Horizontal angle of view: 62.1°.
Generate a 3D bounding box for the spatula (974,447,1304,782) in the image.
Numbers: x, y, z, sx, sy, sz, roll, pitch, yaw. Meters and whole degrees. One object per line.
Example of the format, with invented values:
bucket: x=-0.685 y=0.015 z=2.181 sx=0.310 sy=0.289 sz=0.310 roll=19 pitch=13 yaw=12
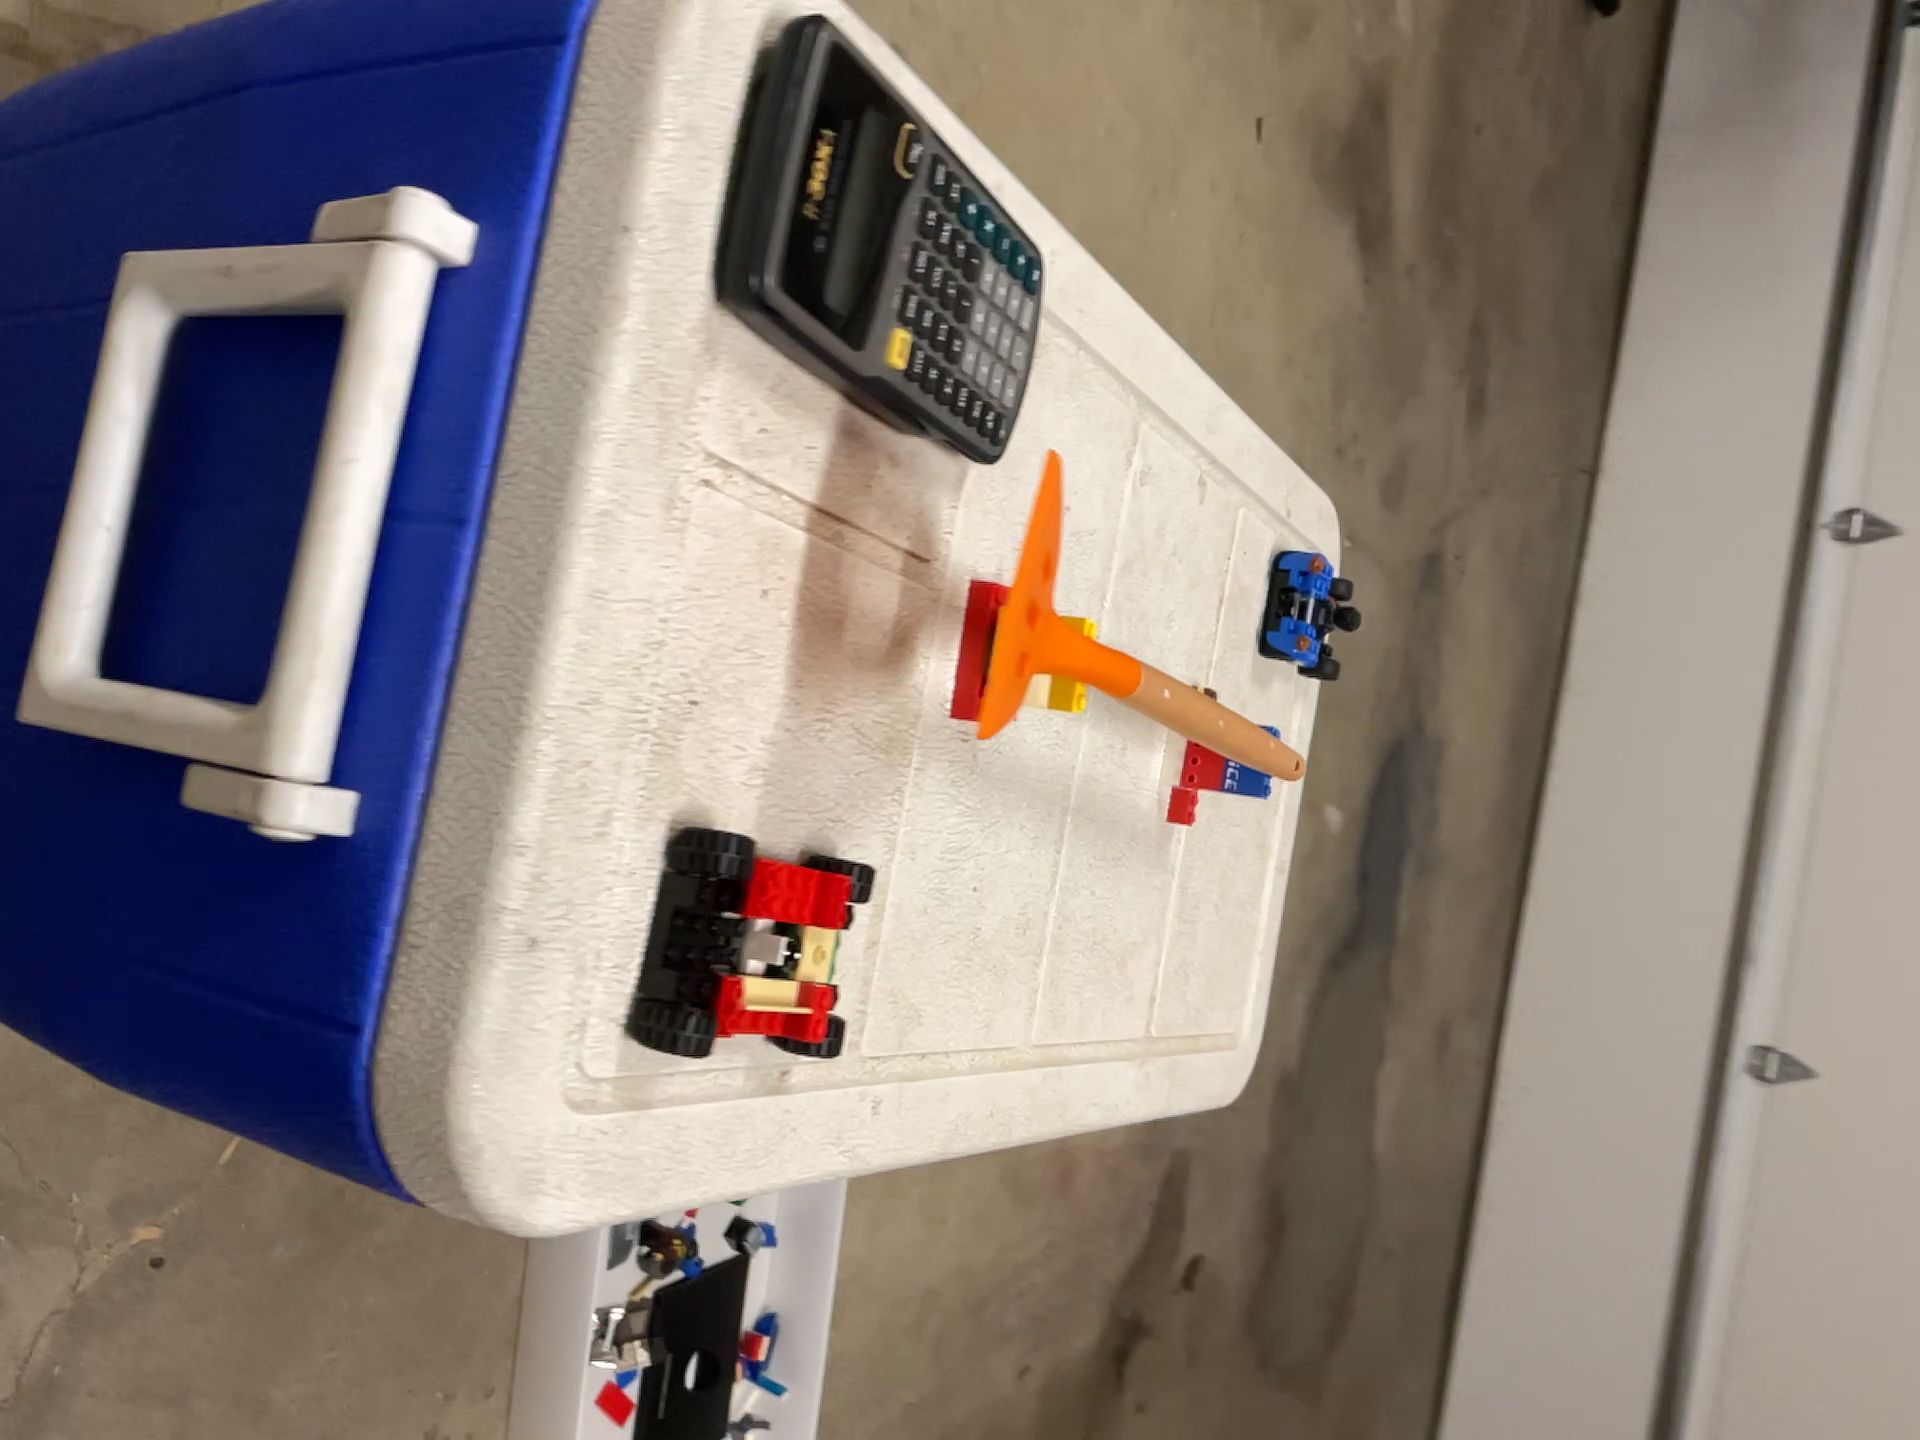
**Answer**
spatula: x=0.074 y=-0.008 z=0.558 sx=0.322 sy=0.041 sz=0.081 roll=21 pitch=82 yaw=-59
